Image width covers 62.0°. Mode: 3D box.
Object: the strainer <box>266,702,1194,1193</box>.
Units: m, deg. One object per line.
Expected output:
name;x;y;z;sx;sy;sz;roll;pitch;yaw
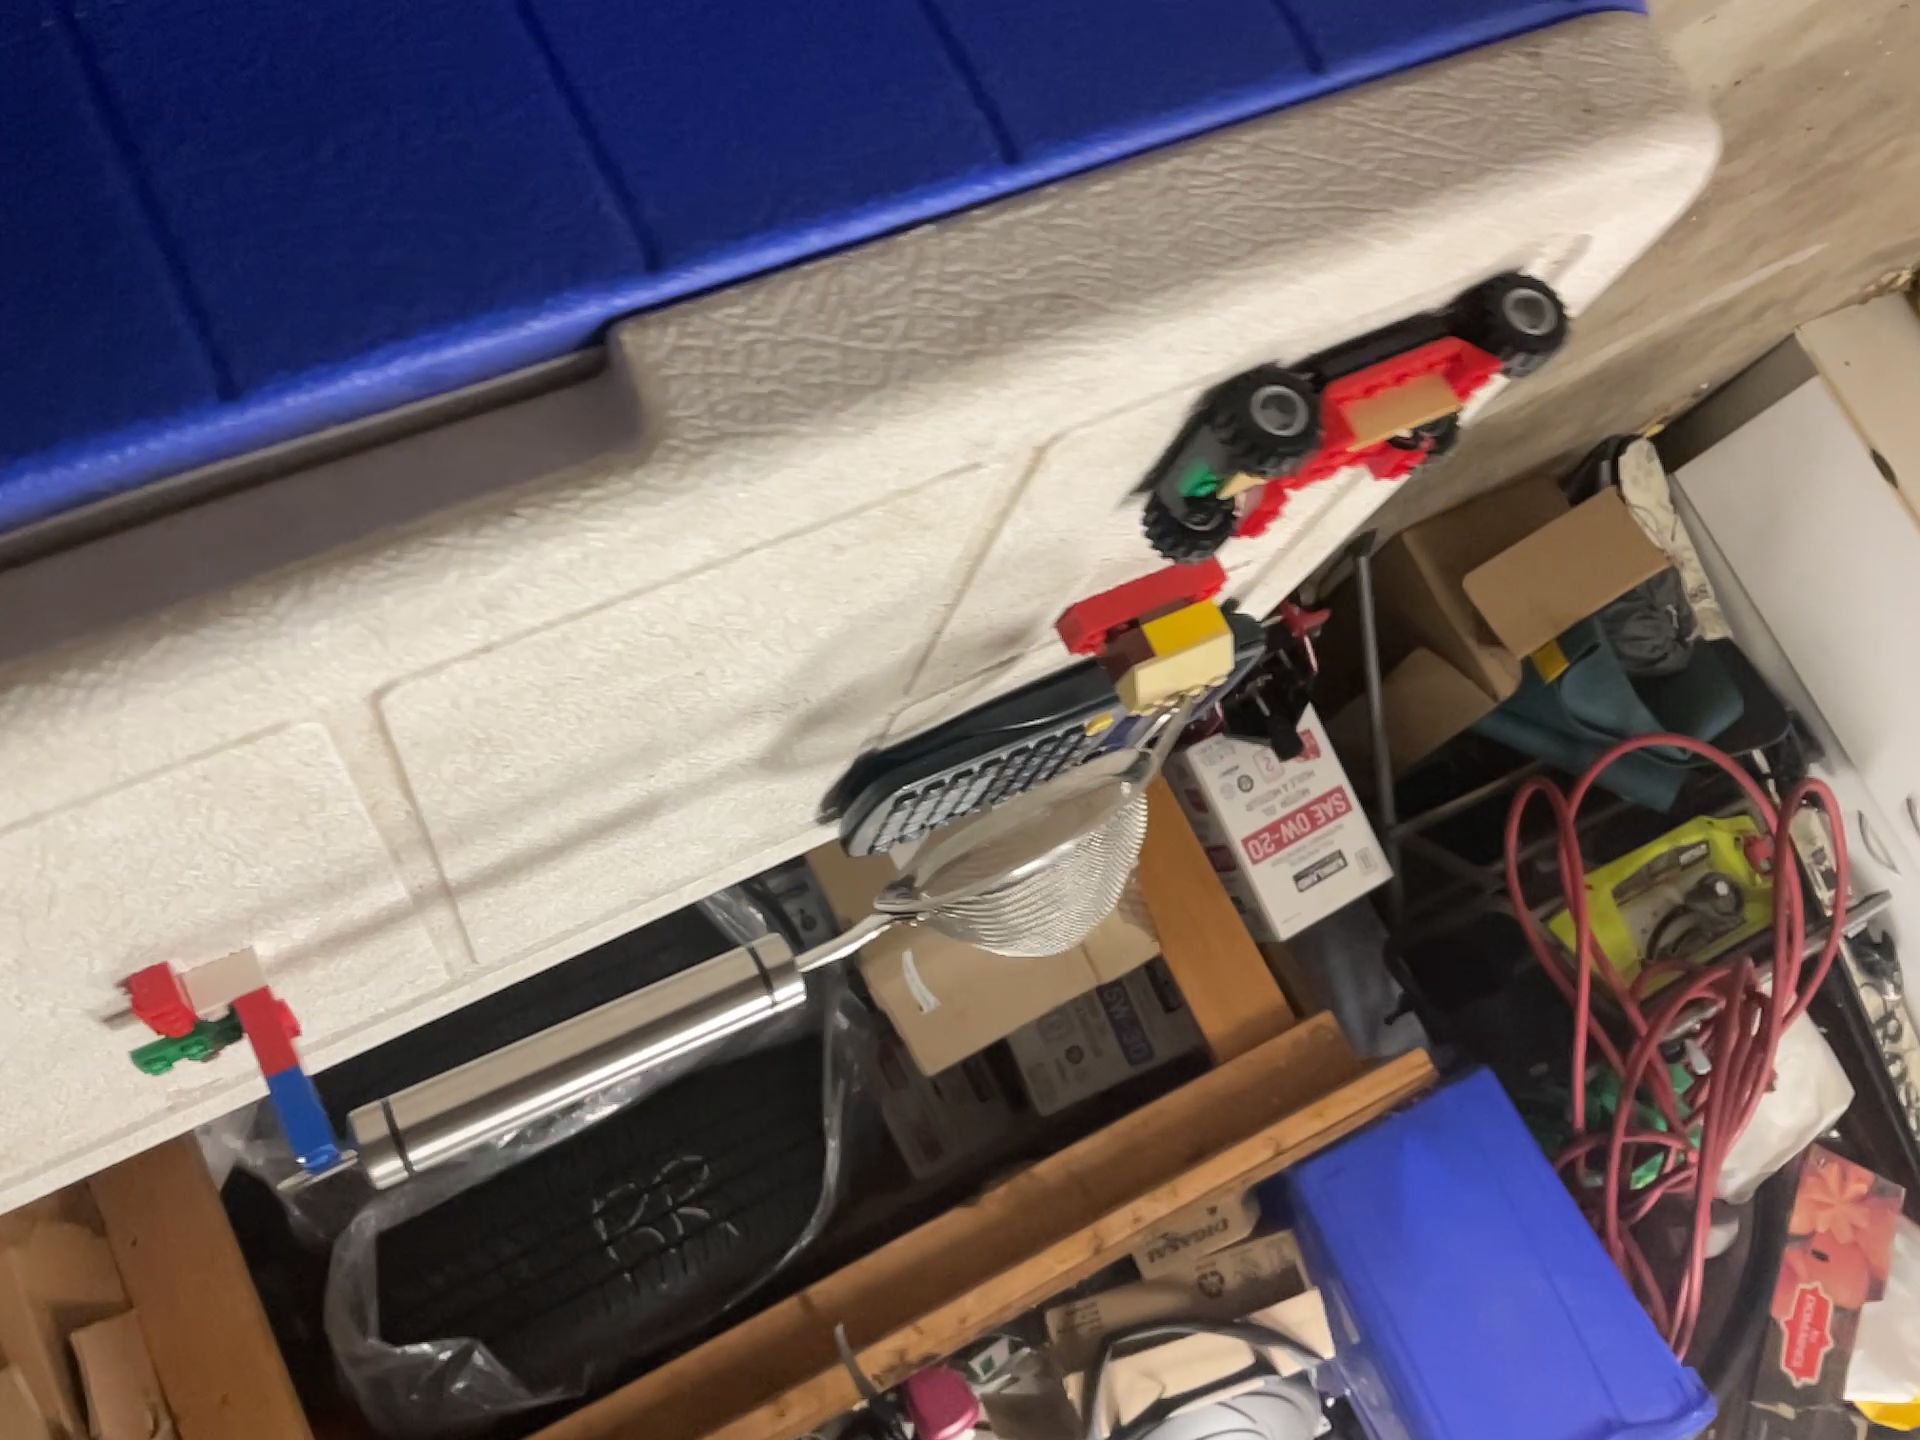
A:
strainer;-0.042;0.062;0.403;0.258;0.050;0.087;-21;-176;-20
